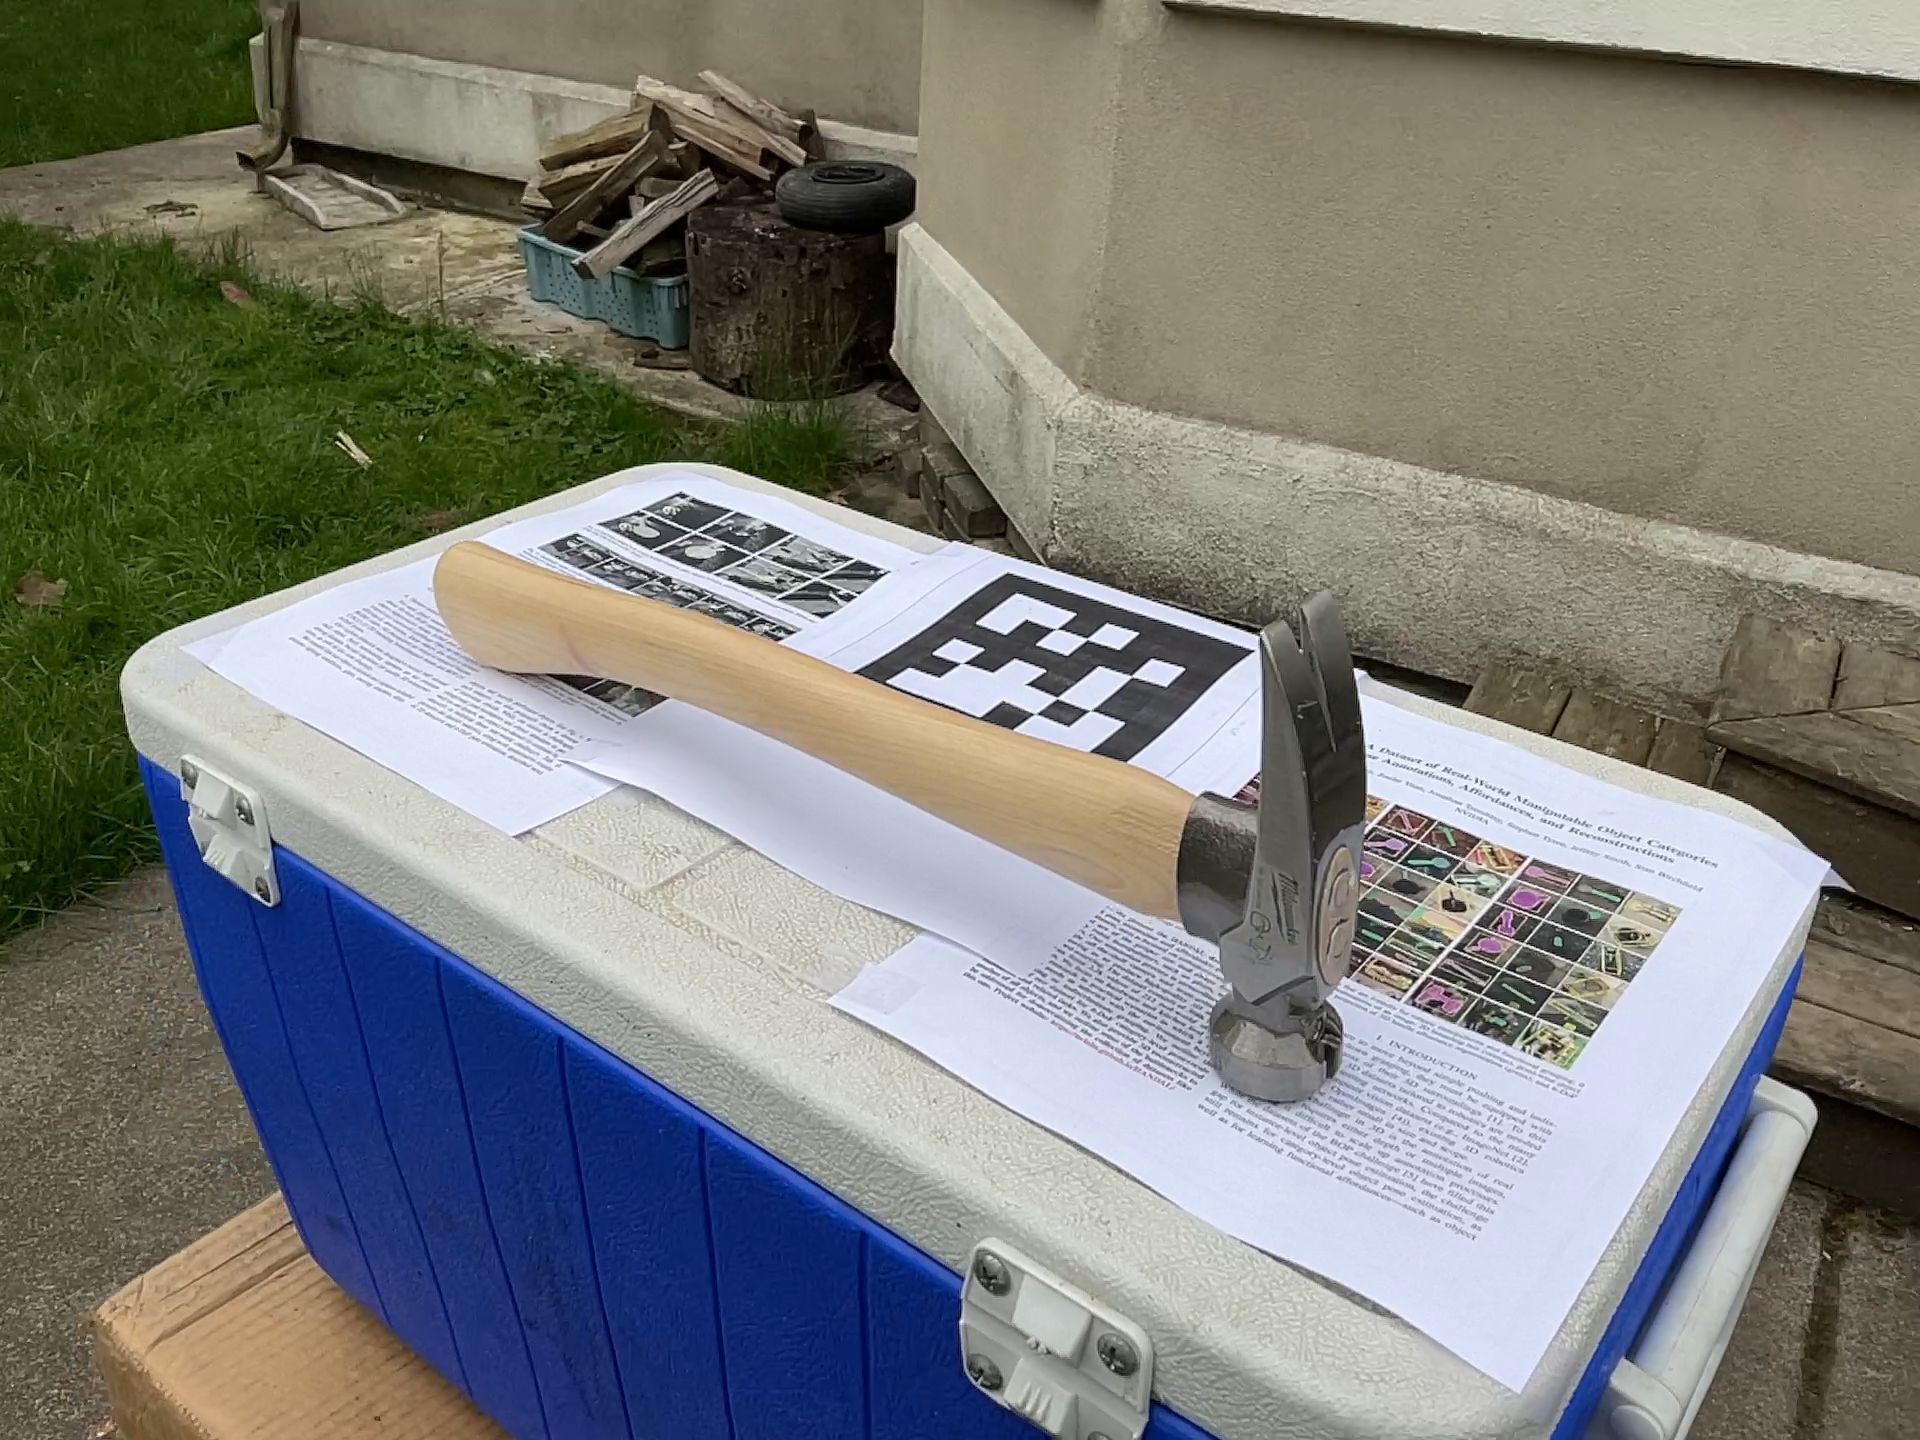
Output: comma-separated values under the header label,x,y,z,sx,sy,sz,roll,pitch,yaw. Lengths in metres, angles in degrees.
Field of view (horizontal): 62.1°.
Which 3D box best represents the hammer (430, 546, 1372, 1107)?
label,x,y,z,sx,sy,sz,roll,pitch,yaw
hammer,-0.055,-0.012,0.539,0.411,0.146,0.038,19,35,36
